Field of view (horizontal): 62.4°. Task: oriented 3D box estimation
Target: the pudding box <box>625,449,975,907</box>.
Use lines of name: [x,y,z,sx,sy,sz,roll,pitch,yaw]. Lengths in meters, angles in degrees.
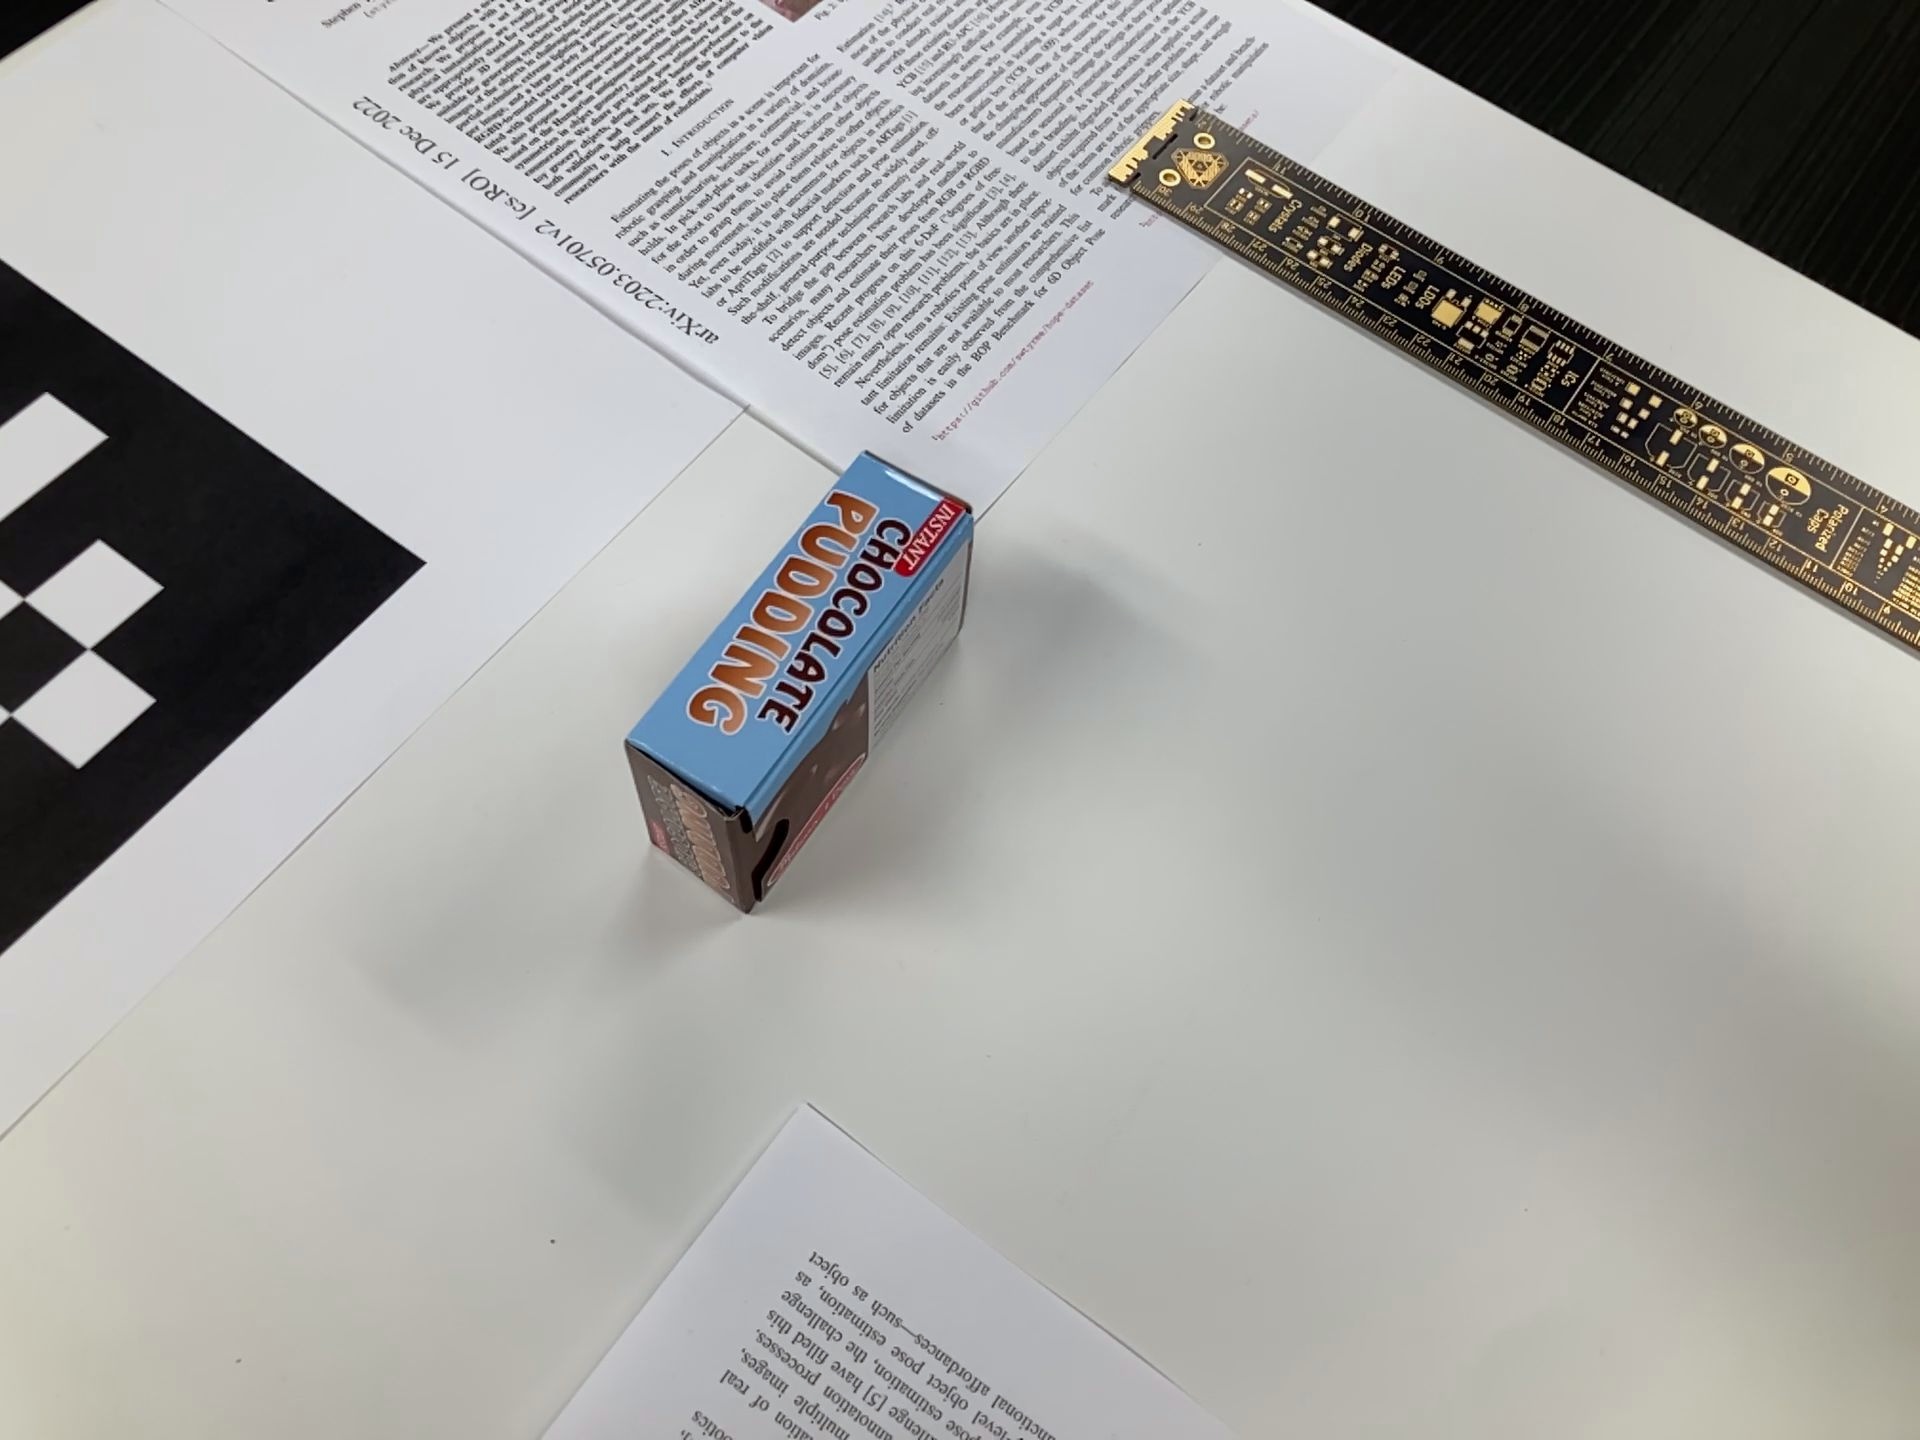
pudding box: [-0.031,-0.009,0.328,0.030,0.049,0.083,30,65,12]
